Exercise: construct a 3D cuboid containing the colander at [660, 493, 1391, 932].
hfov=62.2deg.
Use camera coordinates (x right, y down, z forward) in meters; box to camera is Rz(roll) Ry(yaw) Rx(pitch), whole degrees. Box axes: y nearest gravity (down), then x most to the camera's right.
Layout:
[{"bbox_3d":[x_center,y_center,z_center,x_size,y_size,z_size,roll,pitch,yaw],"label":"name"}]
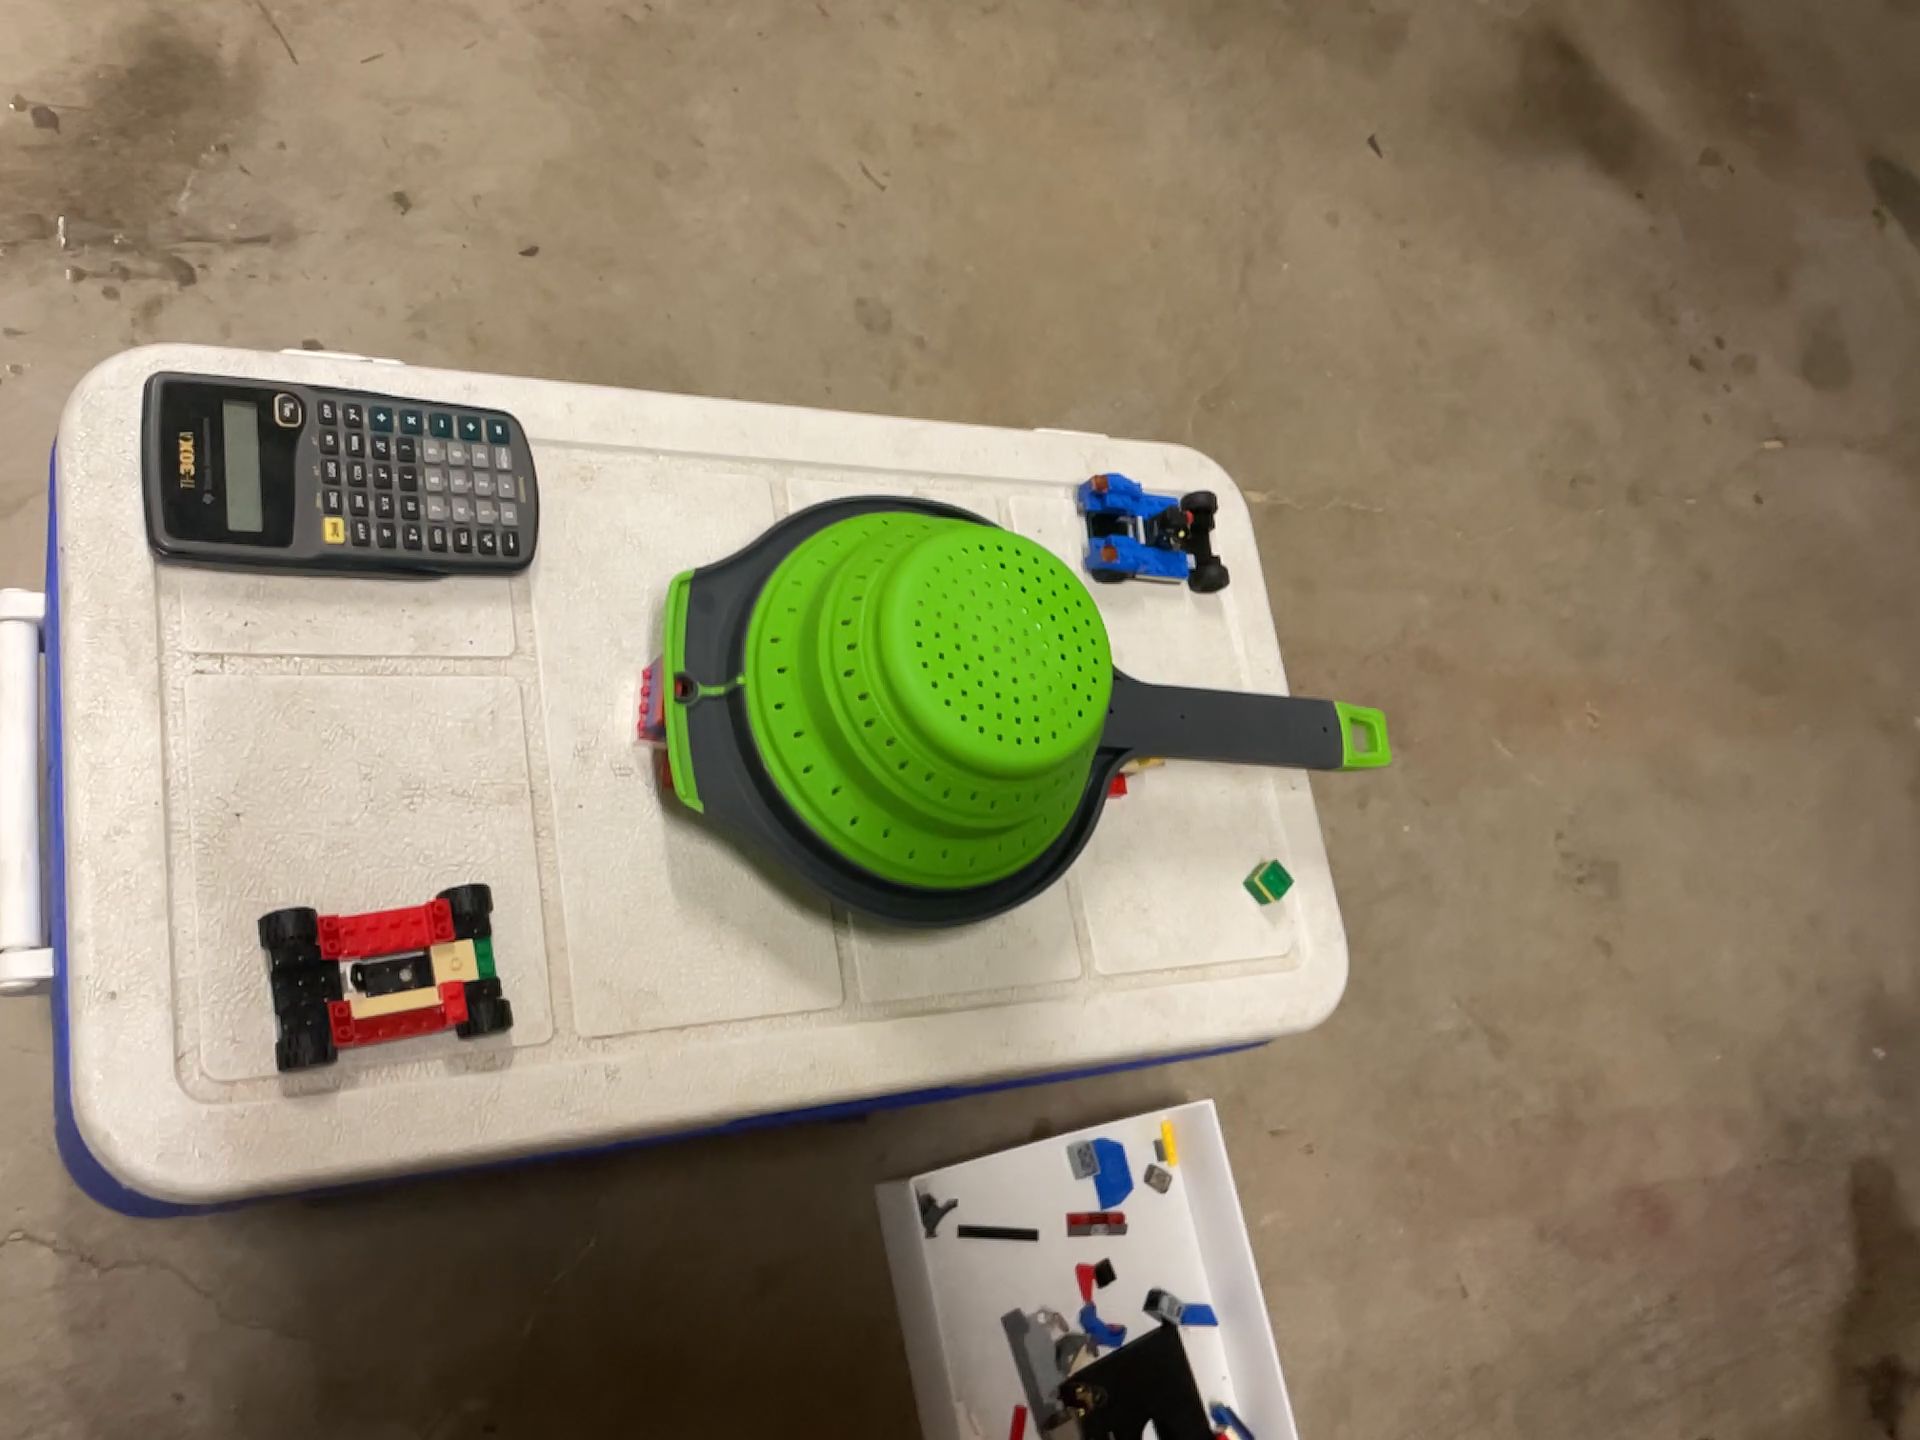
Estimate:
[{"bbox_3d":[0.069,-0.013,0.722,0.397,0.094,0.205,4,71,-29],"label":"colander"}]
